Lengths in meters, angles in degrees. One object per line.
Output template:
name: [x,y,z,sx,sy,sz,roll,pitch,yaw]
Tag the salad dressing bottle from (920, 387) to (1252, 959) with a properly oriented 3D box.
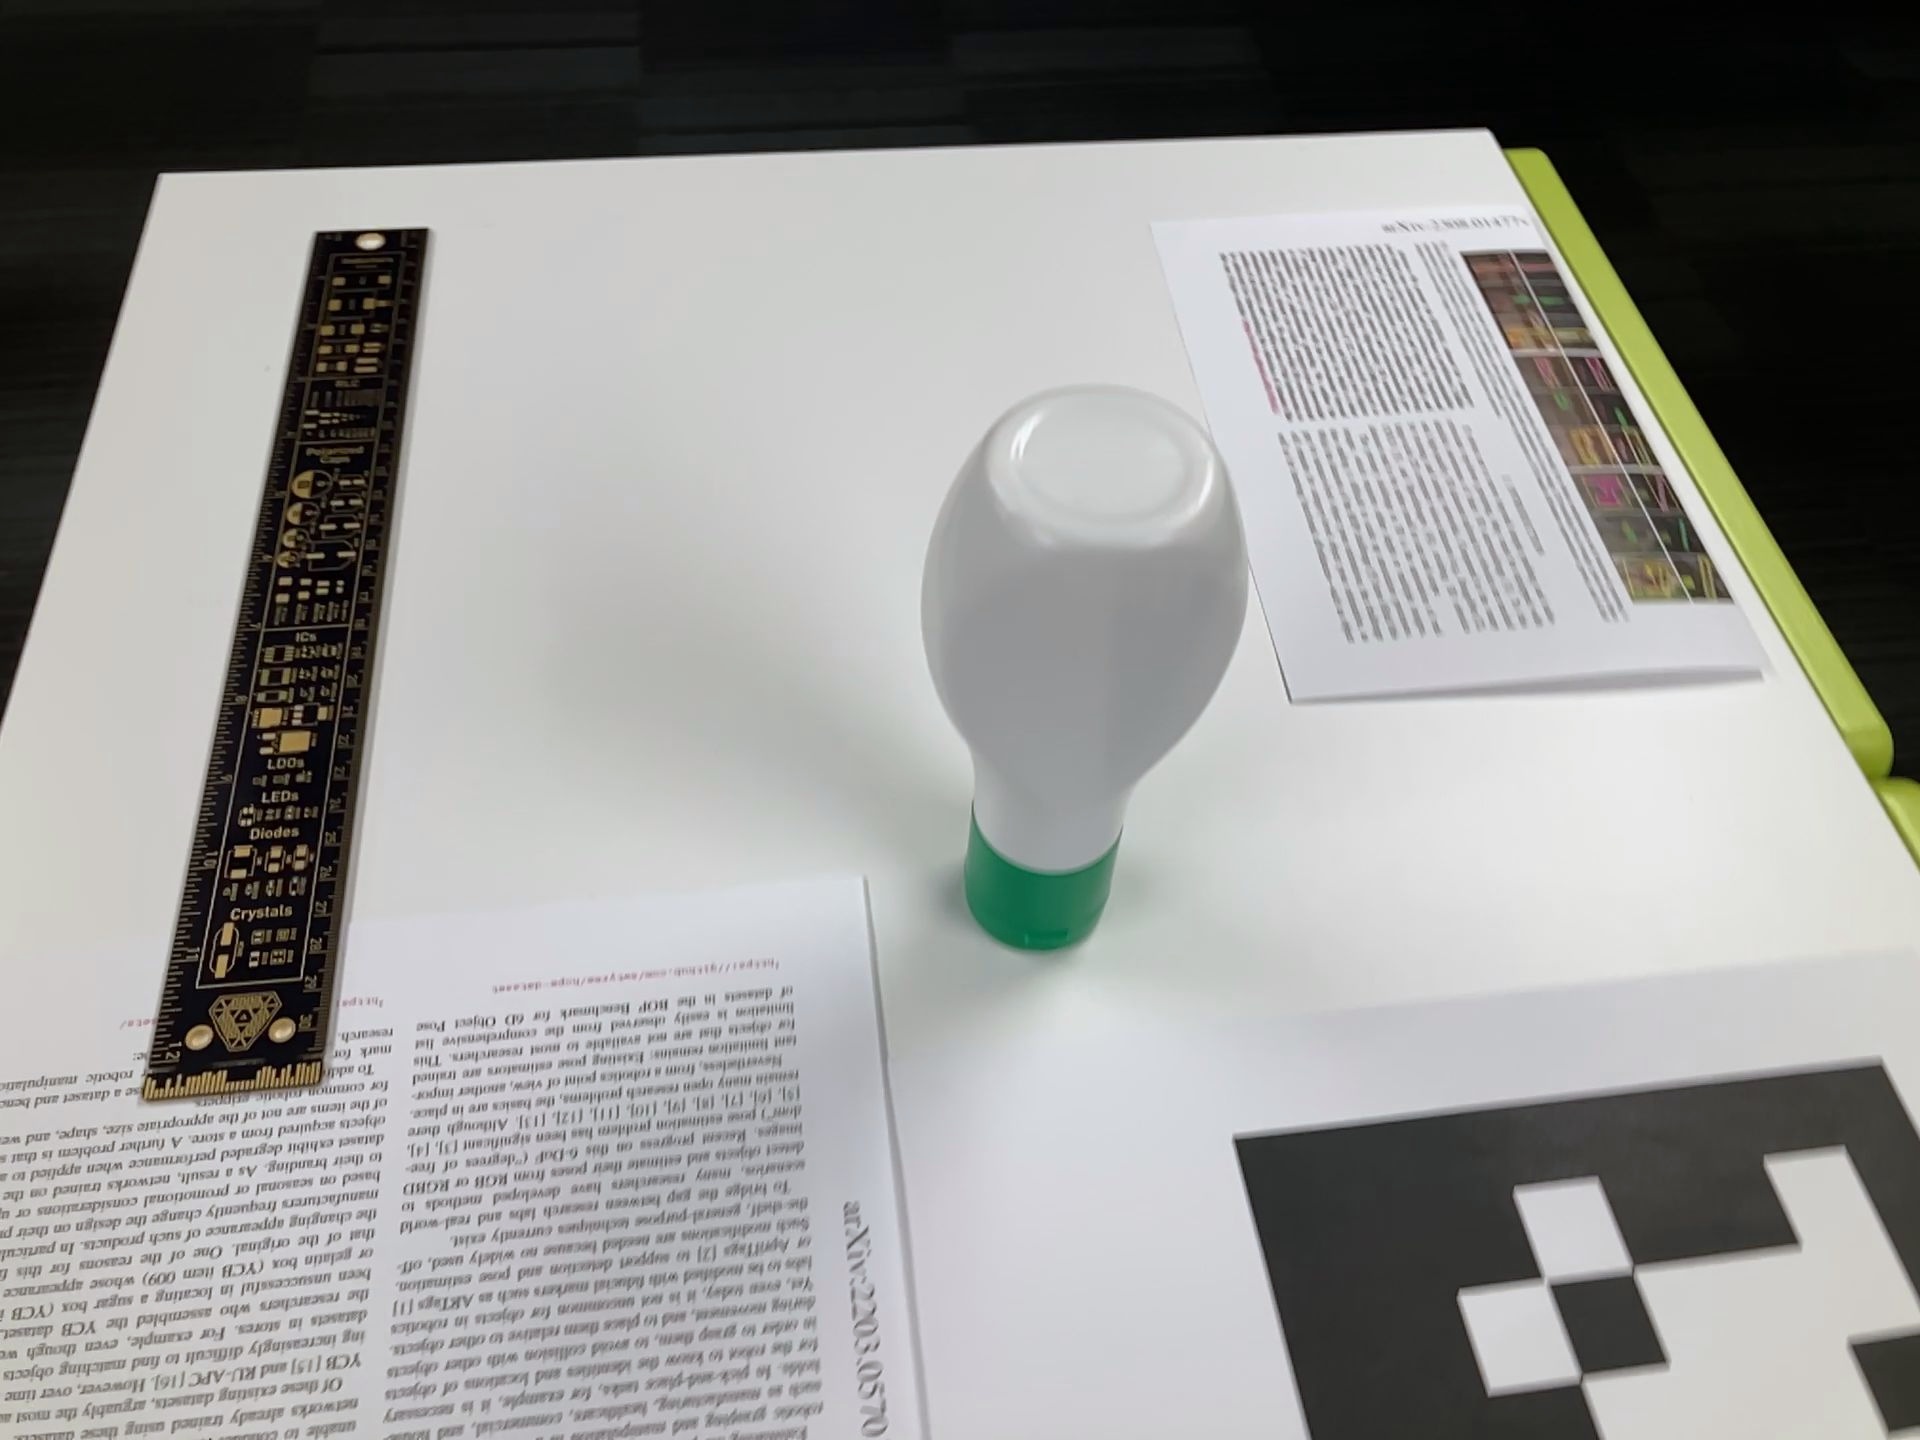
salad dressing bottle: [0.022,-0.001,0.340,0.064,0.147,0.044,-3,52,-6]
